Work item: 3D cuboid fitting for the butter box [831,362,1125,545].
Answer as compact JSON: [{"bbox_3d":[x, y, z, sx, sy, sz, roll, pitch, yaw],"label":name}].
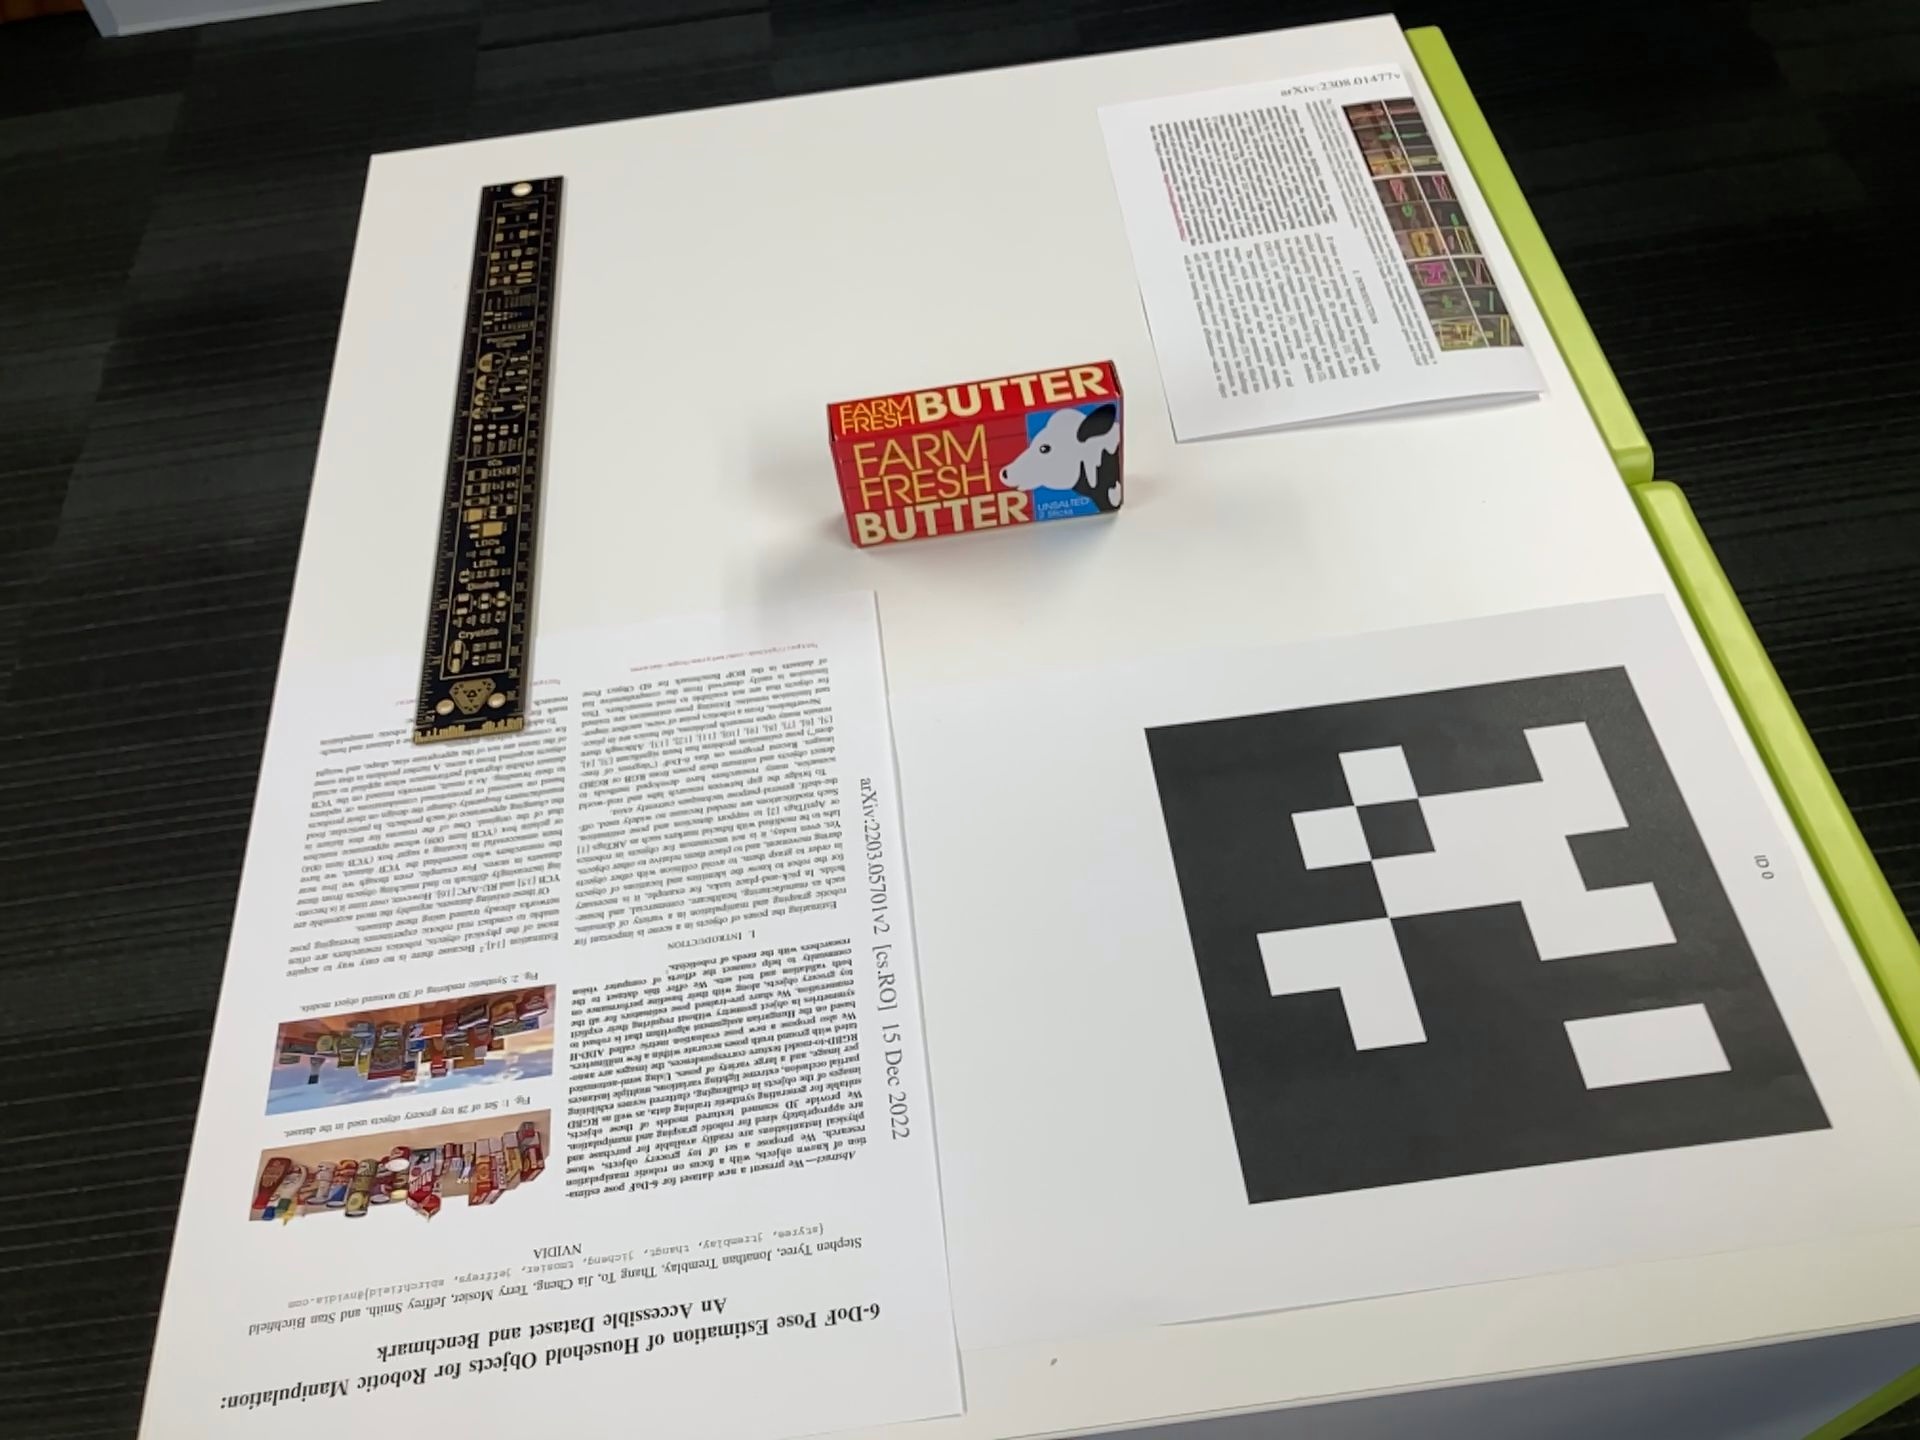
[{"bbox_3d":[0.008,-0.097,0.581,0.103,0.053,0.024,-8,49,0],"label":"butter box"}]
